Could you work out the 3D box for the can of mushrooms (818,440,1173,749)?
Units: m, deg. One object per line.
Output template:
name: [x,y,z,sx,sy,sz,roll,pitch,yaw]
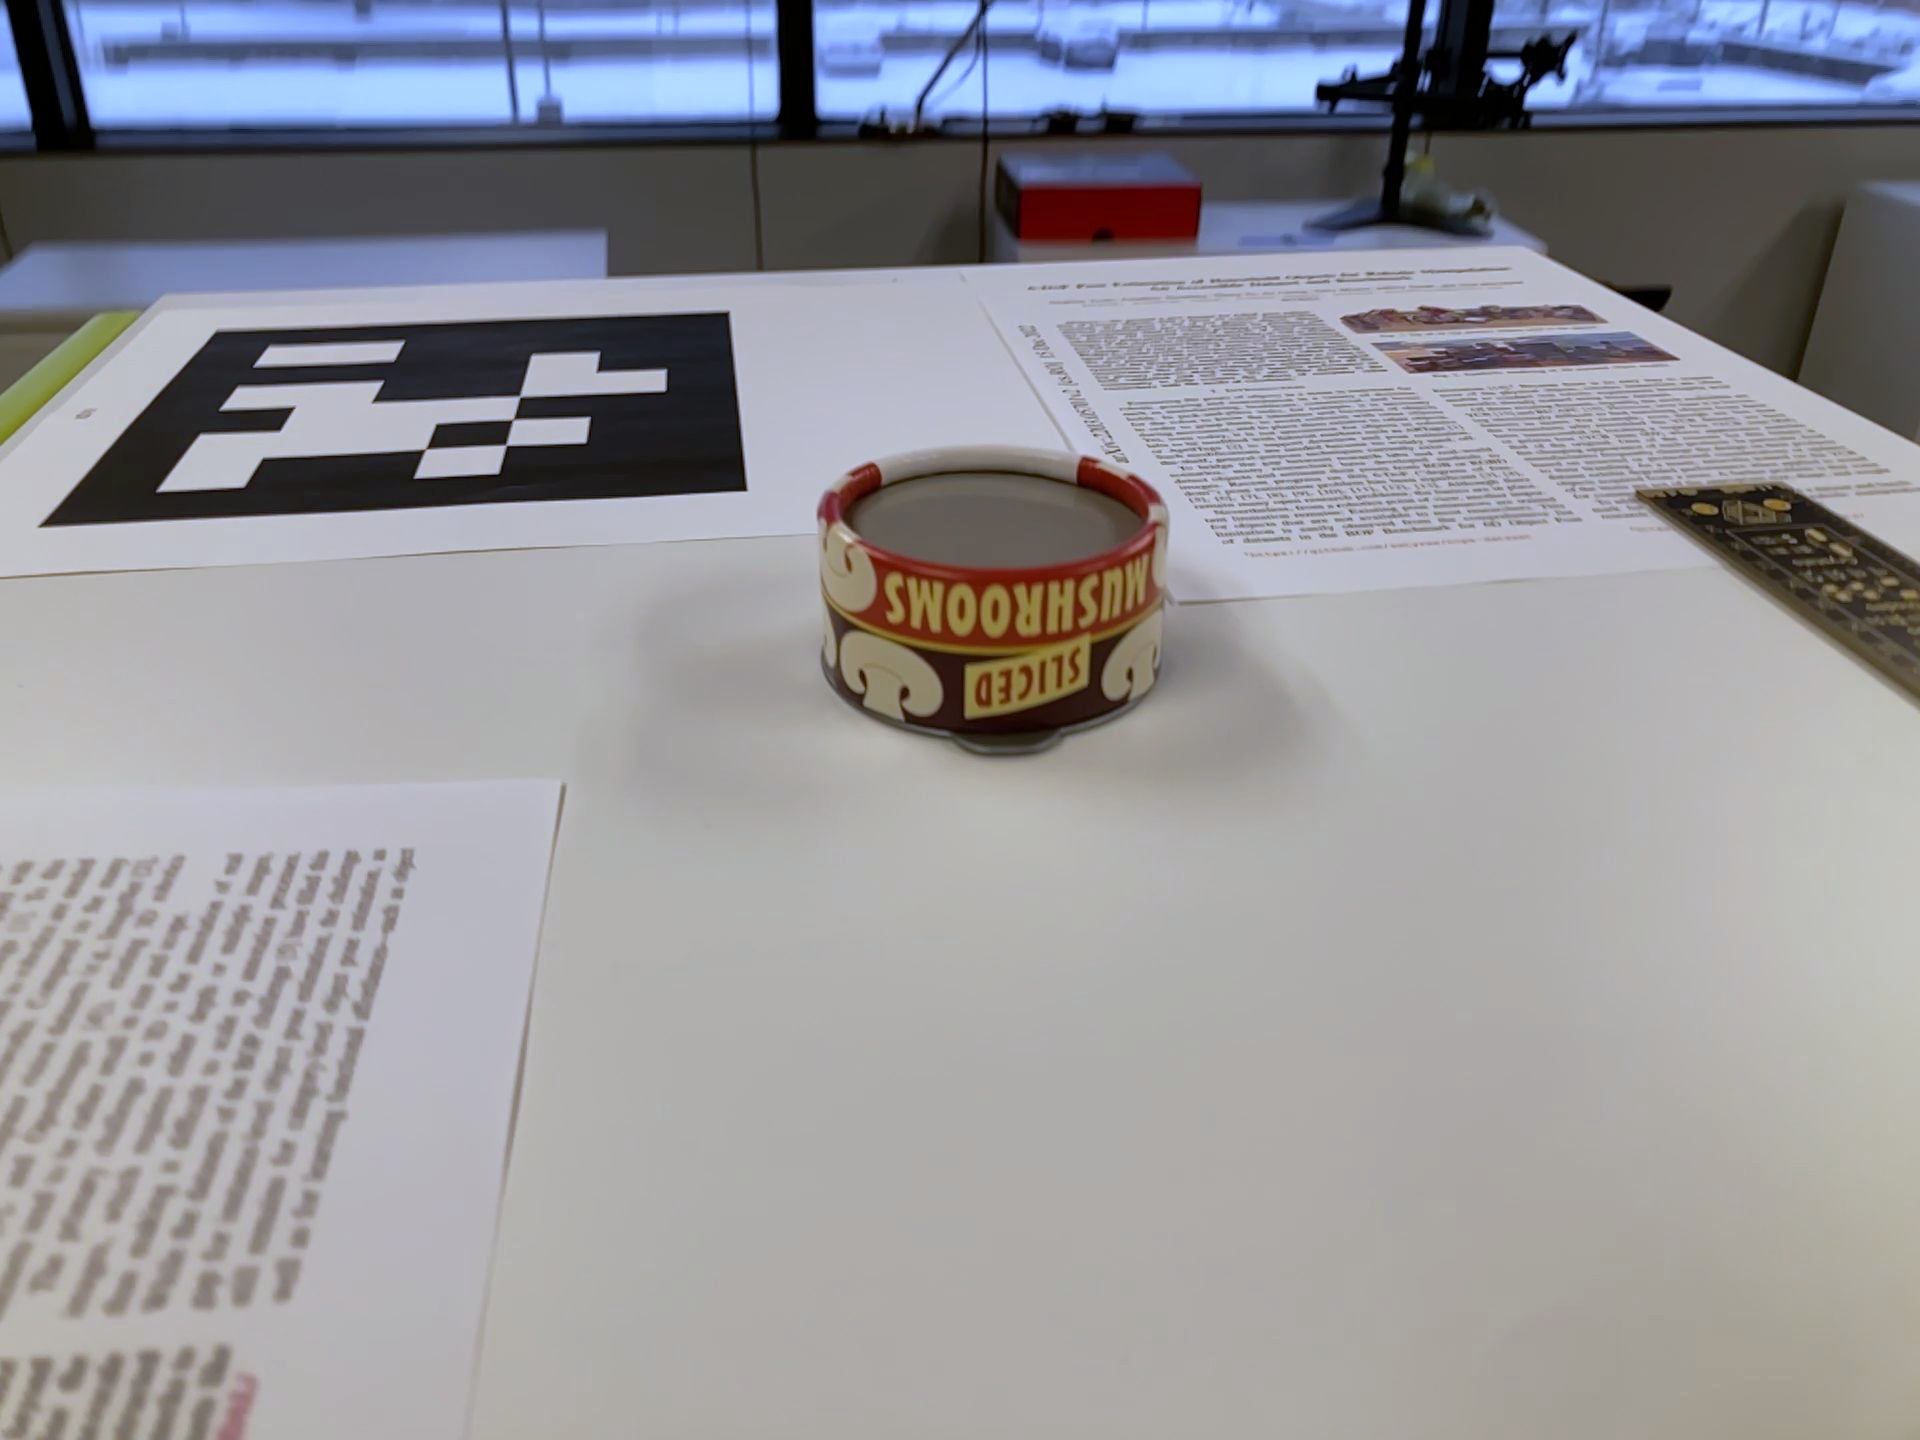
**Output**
can of mushrooms: [0.007,-0.026,0.297,0.071,0.033,0.071,1,30,-1]
